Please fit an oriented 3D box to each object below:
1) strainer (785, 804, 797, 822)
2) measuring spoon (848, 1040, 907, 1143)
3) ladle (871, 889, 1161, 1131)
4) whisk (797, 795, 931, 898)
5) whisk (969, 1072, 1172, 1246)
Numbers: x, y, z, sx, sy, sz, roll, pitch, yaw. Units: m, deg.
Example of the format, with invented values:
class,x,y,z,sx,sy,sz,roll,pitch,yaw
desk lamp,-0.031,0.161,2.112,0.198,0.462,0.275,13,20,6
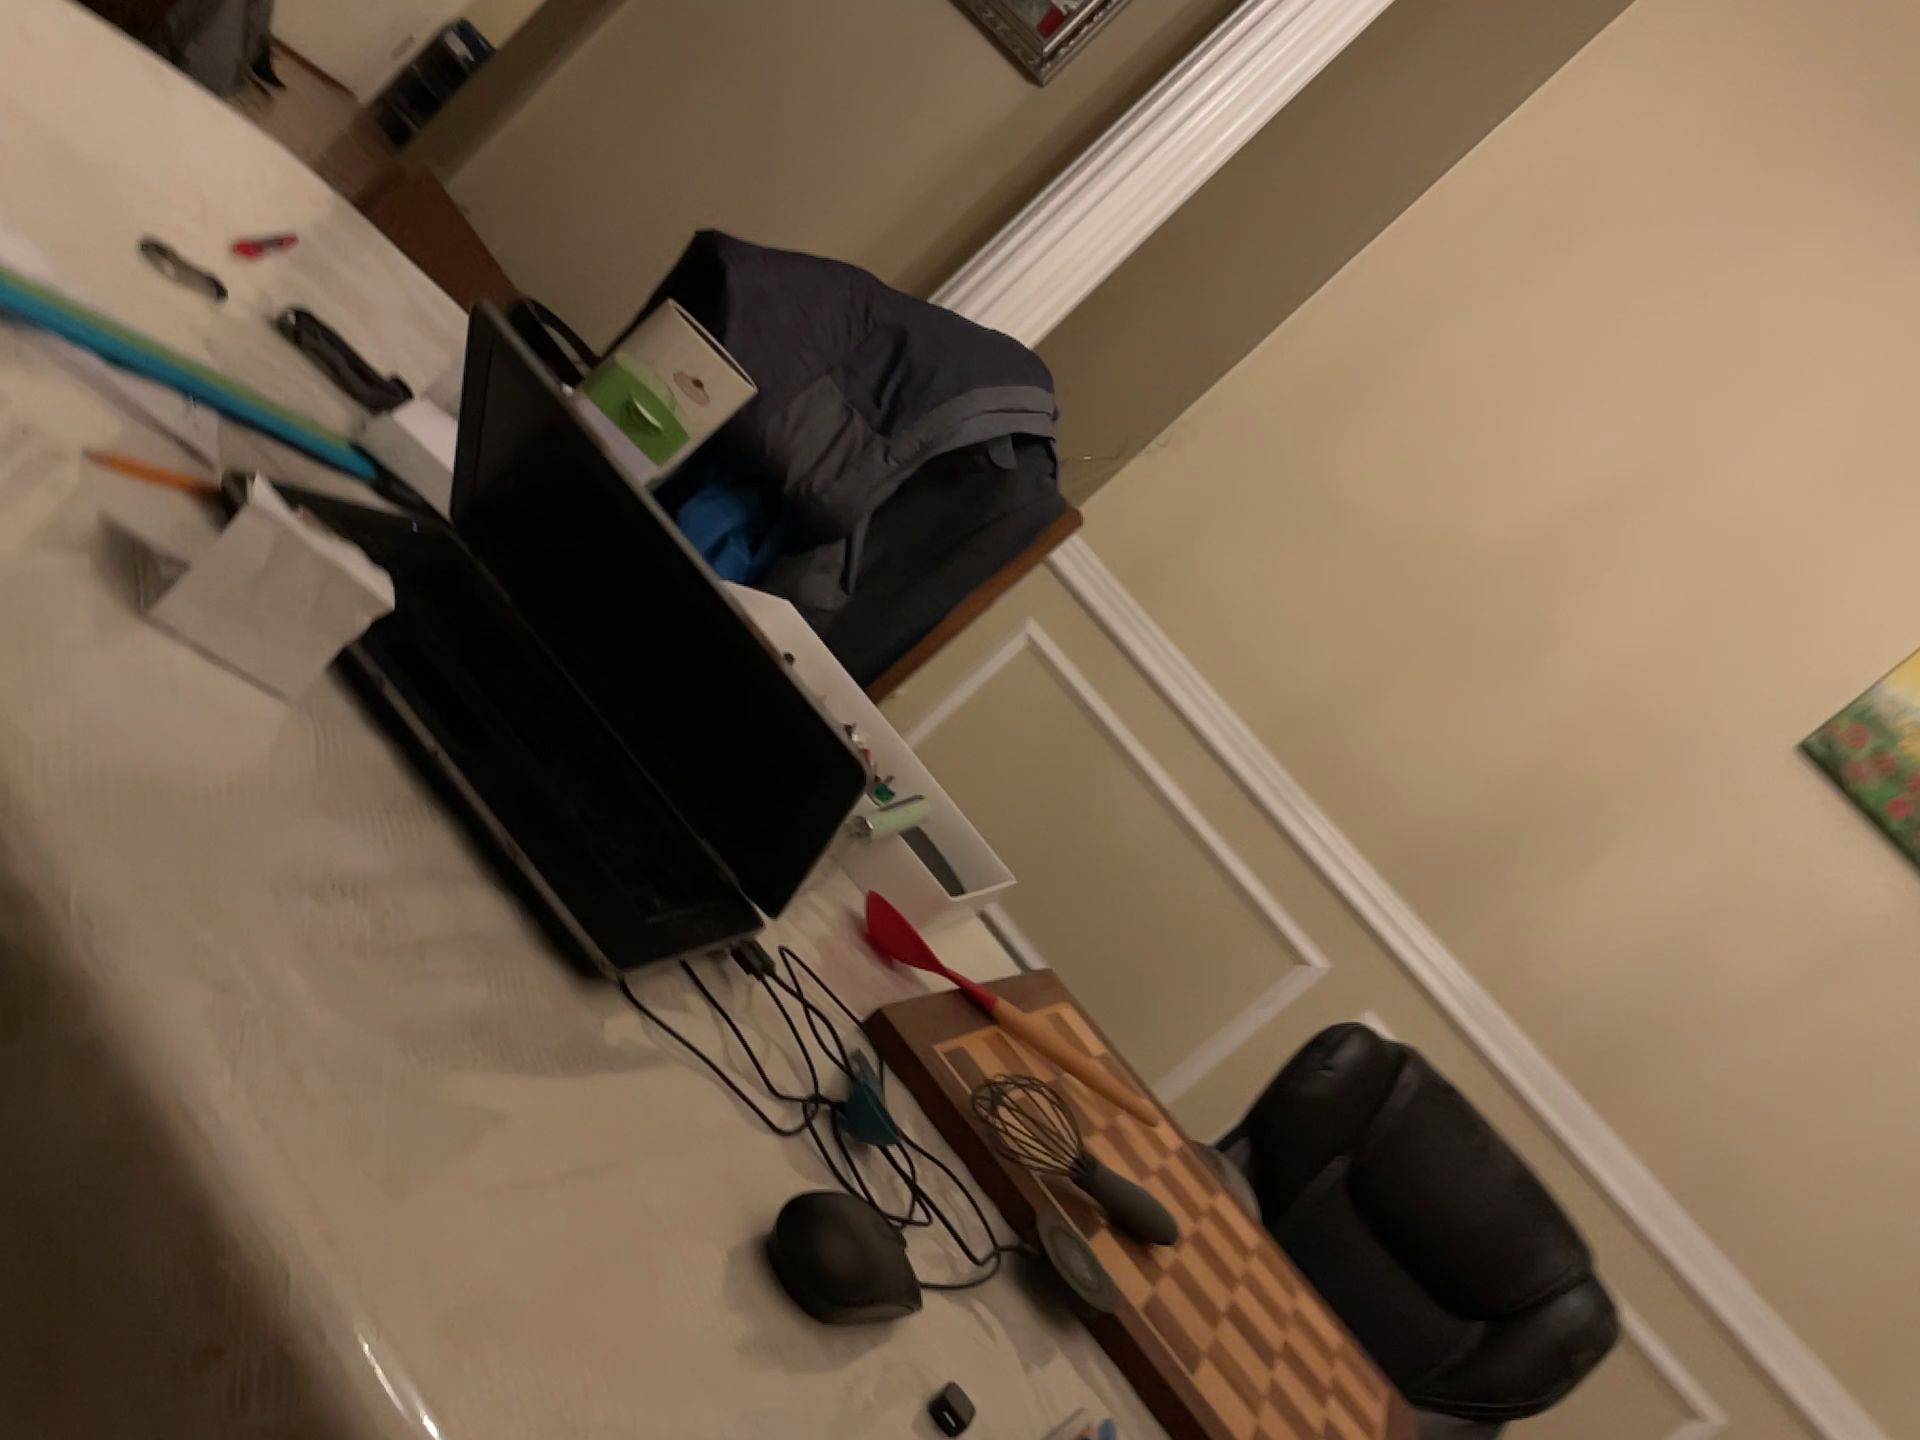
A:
class,x,y,z,sx,sy,sz,roll,pitch,yaw
strainer,-0.182,-0.009,1.016,0.210,0.095,0.341,58,-5,-38
measuring spoon,-0.058,0.216,0.932,0.042,0.021,0.129,54,-5,-11
ladle,0.045,0.232,1.226,0.315,0.031,0.069,40,-11,-20
whisk,-0.080,0.083,1.173,0.246,0.058,0.059,-16,93,-65
whisk,0.080,0.300,1.060,0.238,0.055,0.055,47,21,-36
